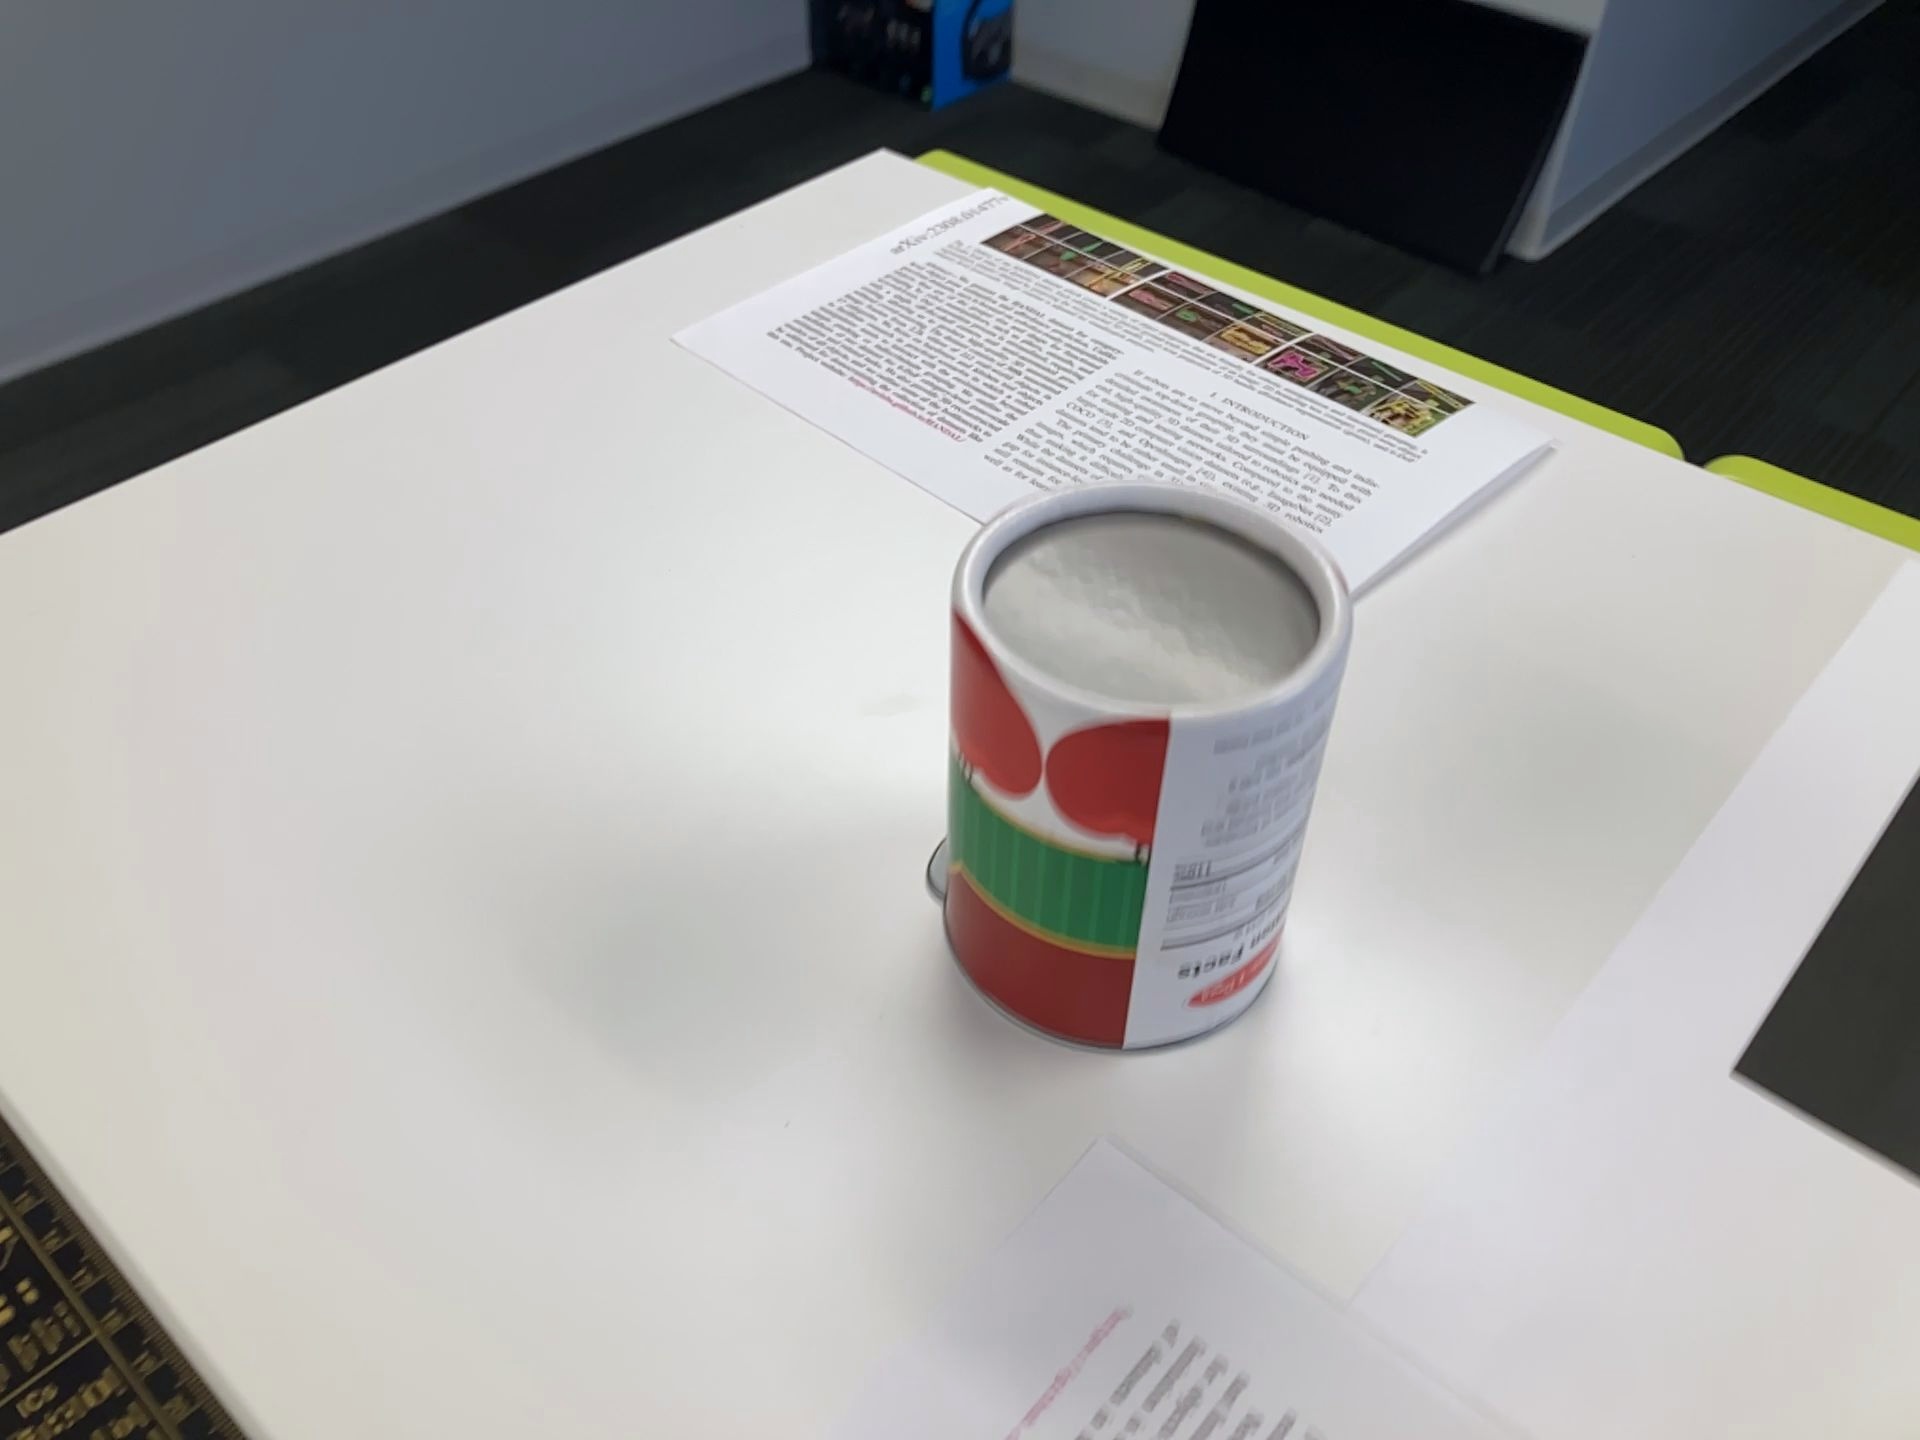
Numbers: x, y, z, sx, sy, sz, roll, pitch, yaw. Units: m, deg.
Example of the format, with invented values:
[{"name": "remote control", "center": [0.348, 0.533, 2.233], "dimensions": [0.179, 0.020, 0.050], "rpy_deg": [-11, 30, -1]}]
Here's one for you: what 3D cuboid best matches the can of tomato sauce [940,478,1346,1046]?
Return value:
[{"name": "can of tomato sauce", "center": [0.030, 0.007, 0.291], "dimensions": [0.071, 0.083, 0.071], "rpy_deg": [-1, 44, 1]}]
